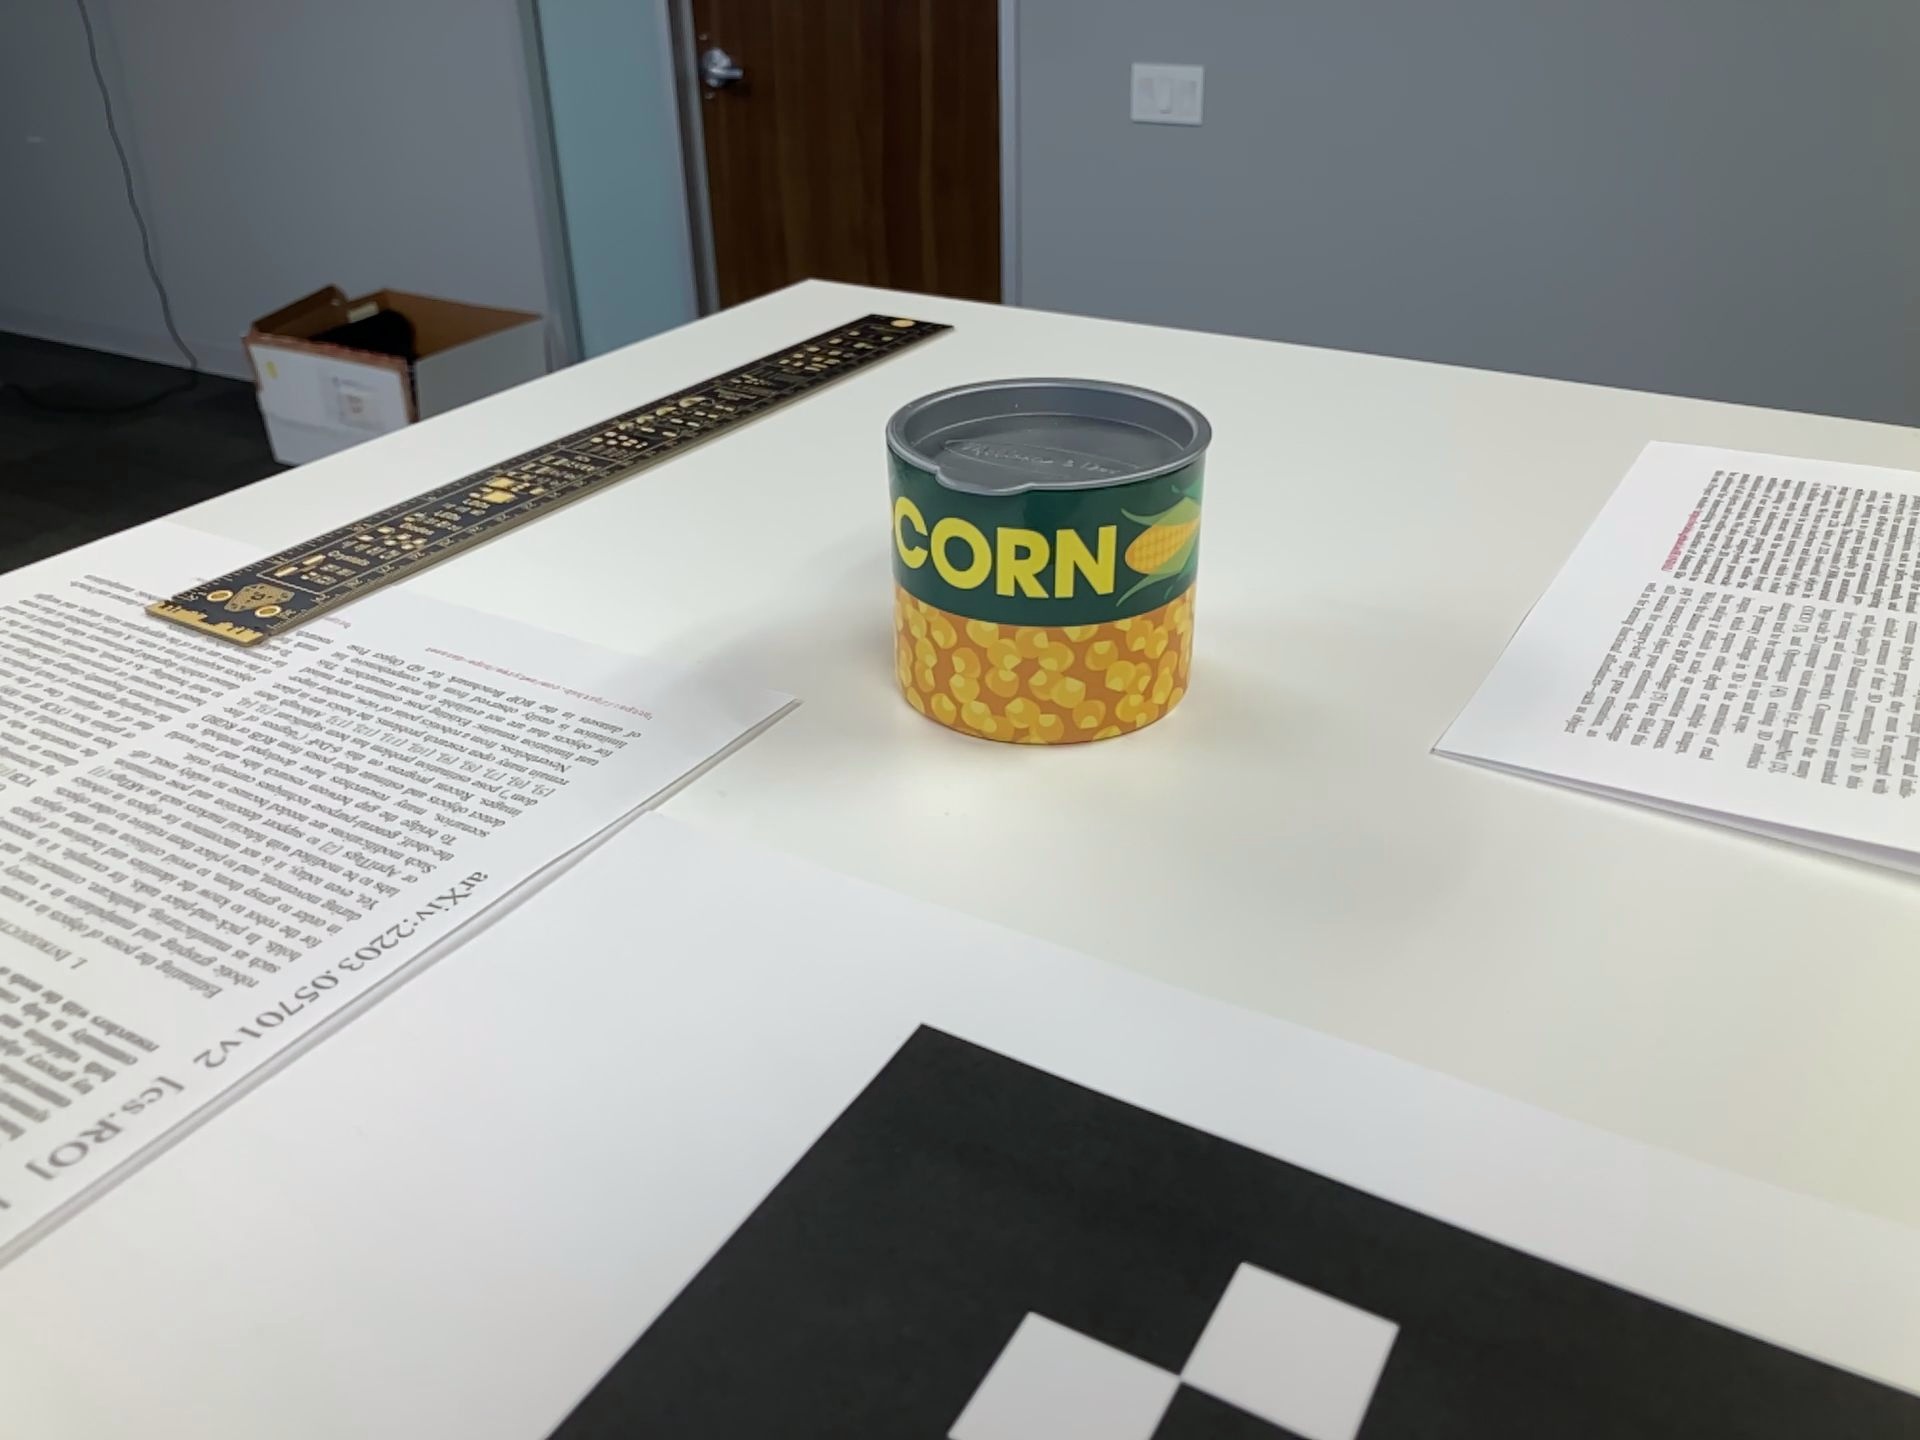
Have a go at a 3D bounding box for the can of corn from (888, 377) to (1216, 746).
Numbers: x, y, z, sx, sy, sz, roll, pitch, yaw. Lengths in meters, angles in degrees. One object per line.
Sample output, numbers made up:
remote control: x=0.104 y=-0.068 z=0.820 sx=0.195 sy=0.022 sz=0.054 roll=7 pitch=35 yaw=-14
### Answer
can of corn: x=0.017 y=-0.034 z=0.333 sx=0.071 sy=0.058 sz=0.071 roll=0 pitch=29 yaw=0
